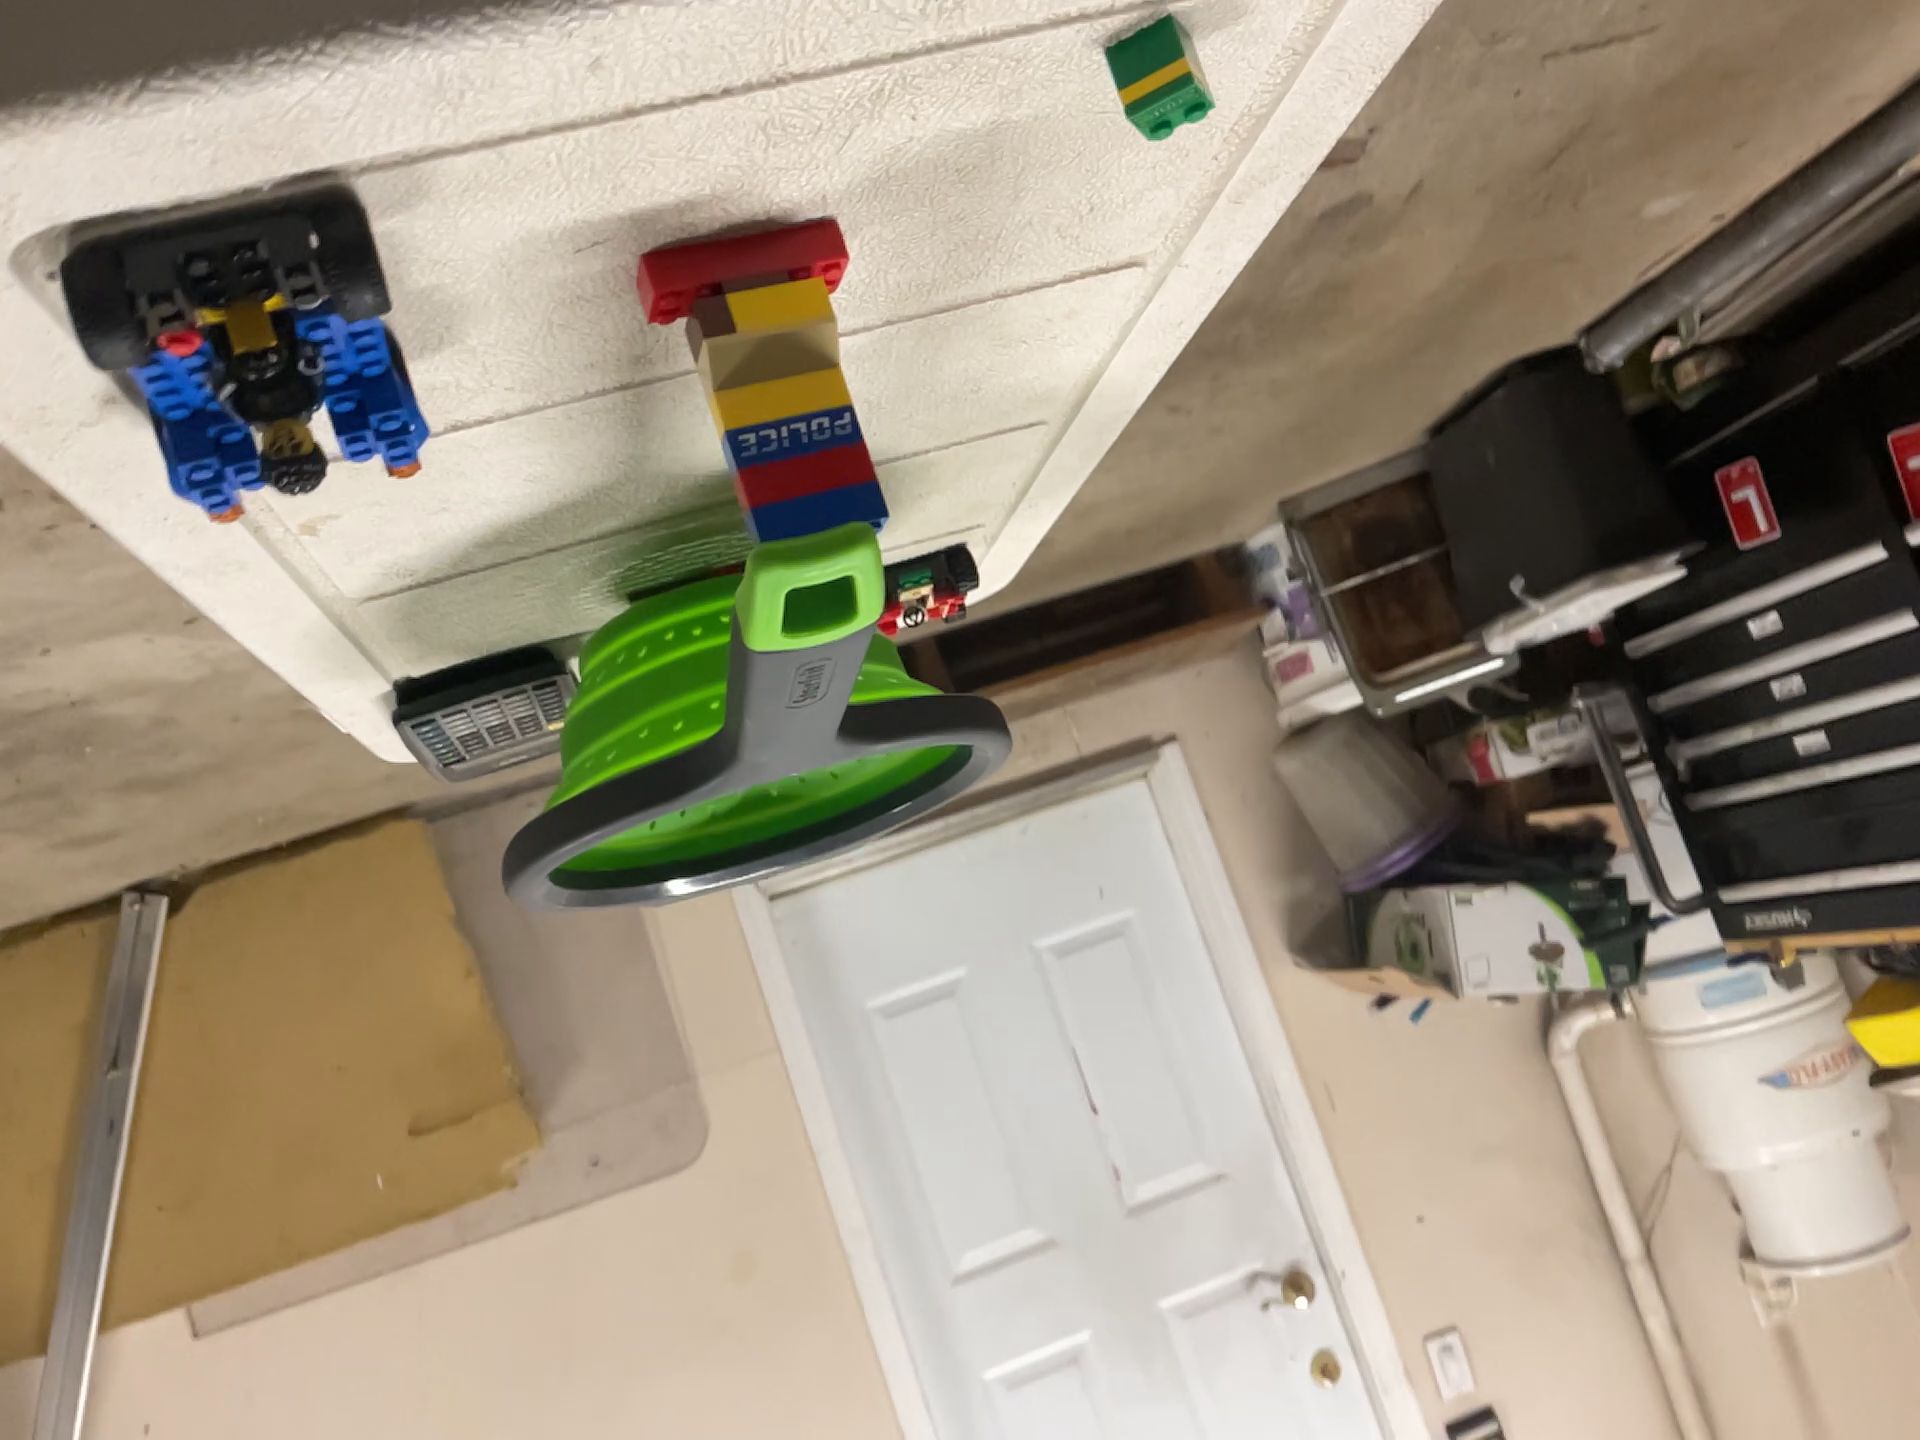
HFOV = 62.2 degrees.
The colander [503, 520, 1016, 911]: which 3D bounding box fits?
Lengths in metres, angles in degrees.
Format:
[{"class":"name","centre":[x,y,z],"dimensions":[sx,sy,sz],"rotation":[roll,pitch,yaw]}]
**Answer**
[{"class":"colander","centre":[-0.074,-0.019,0.561],"dimensions":[0.205,0.094,0.396],"rotation":[-14,168,-14]}]
